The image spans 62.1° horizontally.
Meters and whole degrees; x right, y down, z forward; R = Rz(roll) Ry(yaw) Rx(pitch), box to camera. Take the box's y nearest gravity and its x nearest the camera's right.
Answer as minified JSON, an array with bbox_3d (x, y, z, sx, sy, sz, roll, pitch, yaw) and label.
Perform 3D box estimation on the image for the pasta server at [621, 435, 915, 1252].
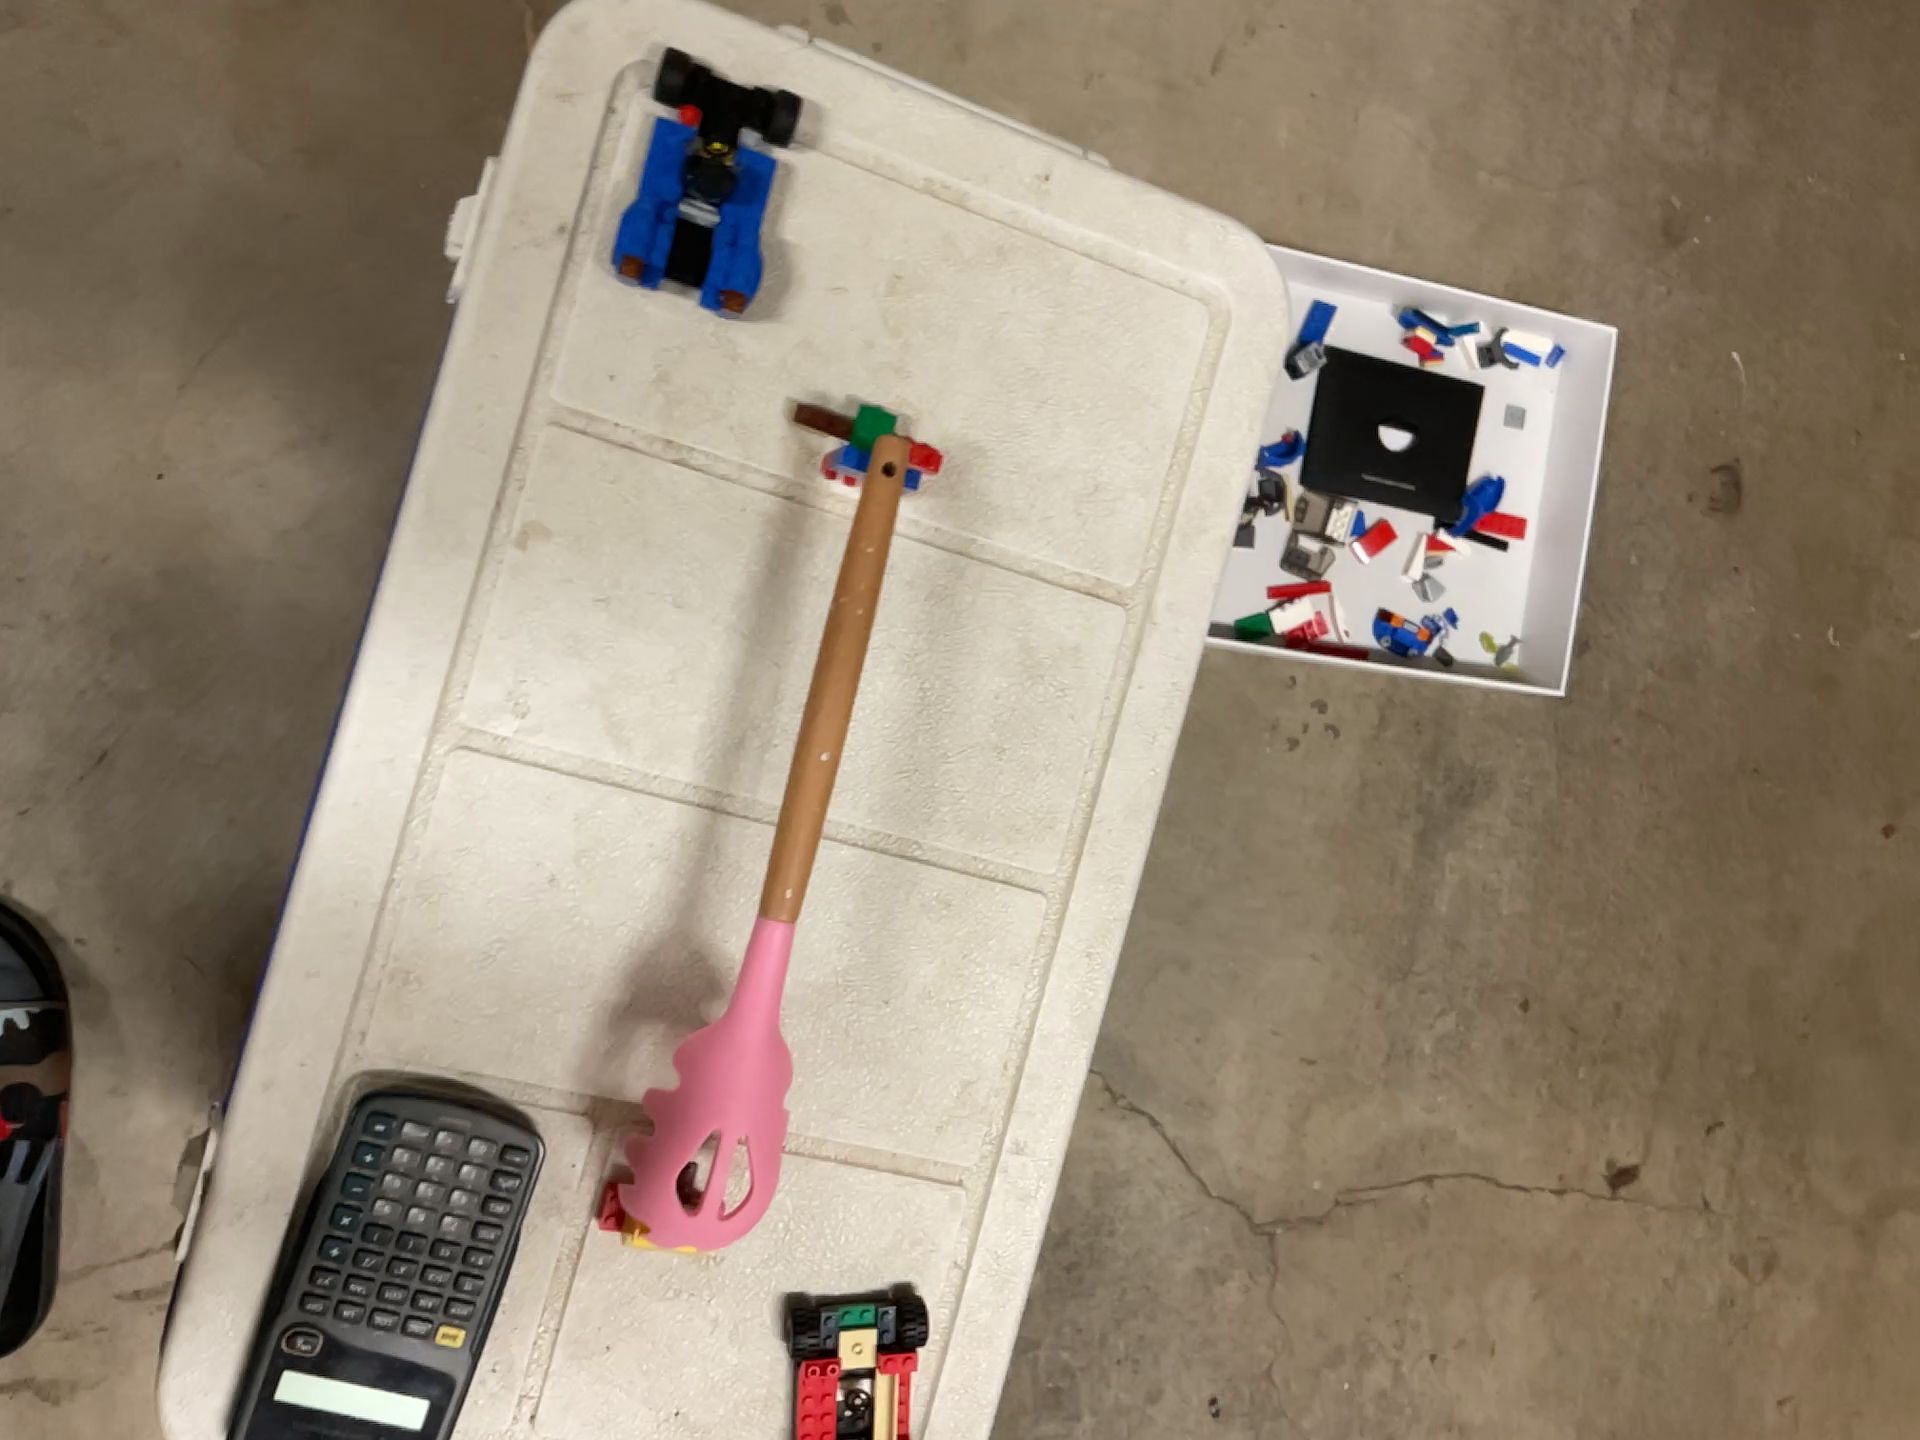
[{"bbox_3d":[-0.063,0.047,0.597,0.060,0.040,0.316,15,86,-16],"label":"pasta server"}]
